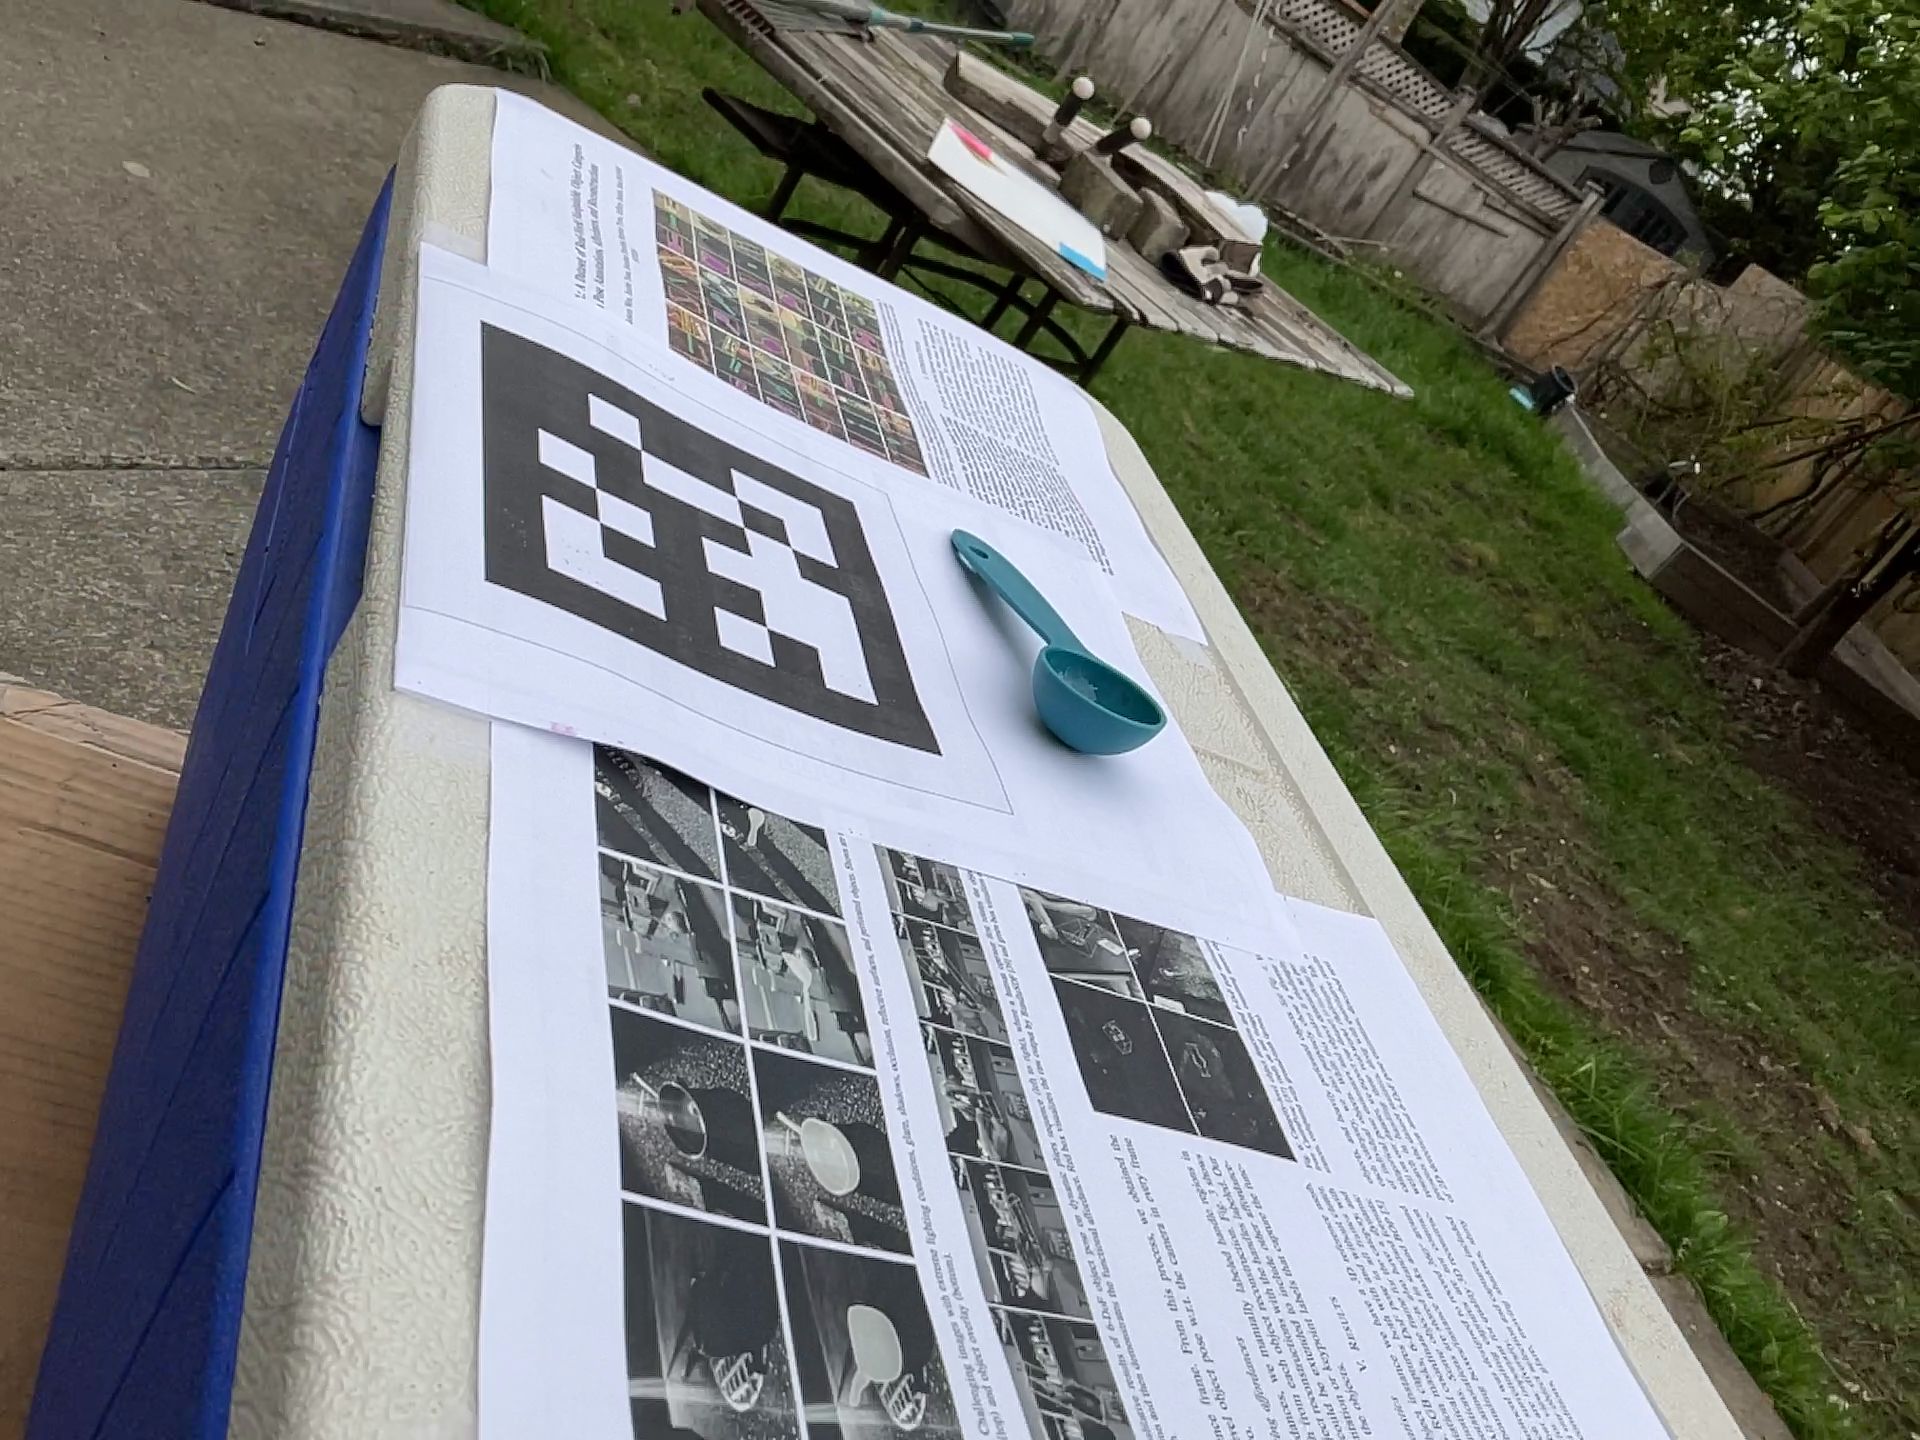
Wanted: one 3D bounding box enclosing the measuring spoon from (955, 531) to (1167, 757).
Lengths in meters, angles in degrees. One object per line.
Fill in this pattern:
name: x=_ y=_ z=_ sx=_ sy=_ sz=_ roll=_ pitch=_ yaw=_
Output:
measuring spoon: x=0.022 y=-0.024 z=0.503 sx=0.042 sy=0.021 sz=0.129 roll=17 pitch=22 yaw=-33
